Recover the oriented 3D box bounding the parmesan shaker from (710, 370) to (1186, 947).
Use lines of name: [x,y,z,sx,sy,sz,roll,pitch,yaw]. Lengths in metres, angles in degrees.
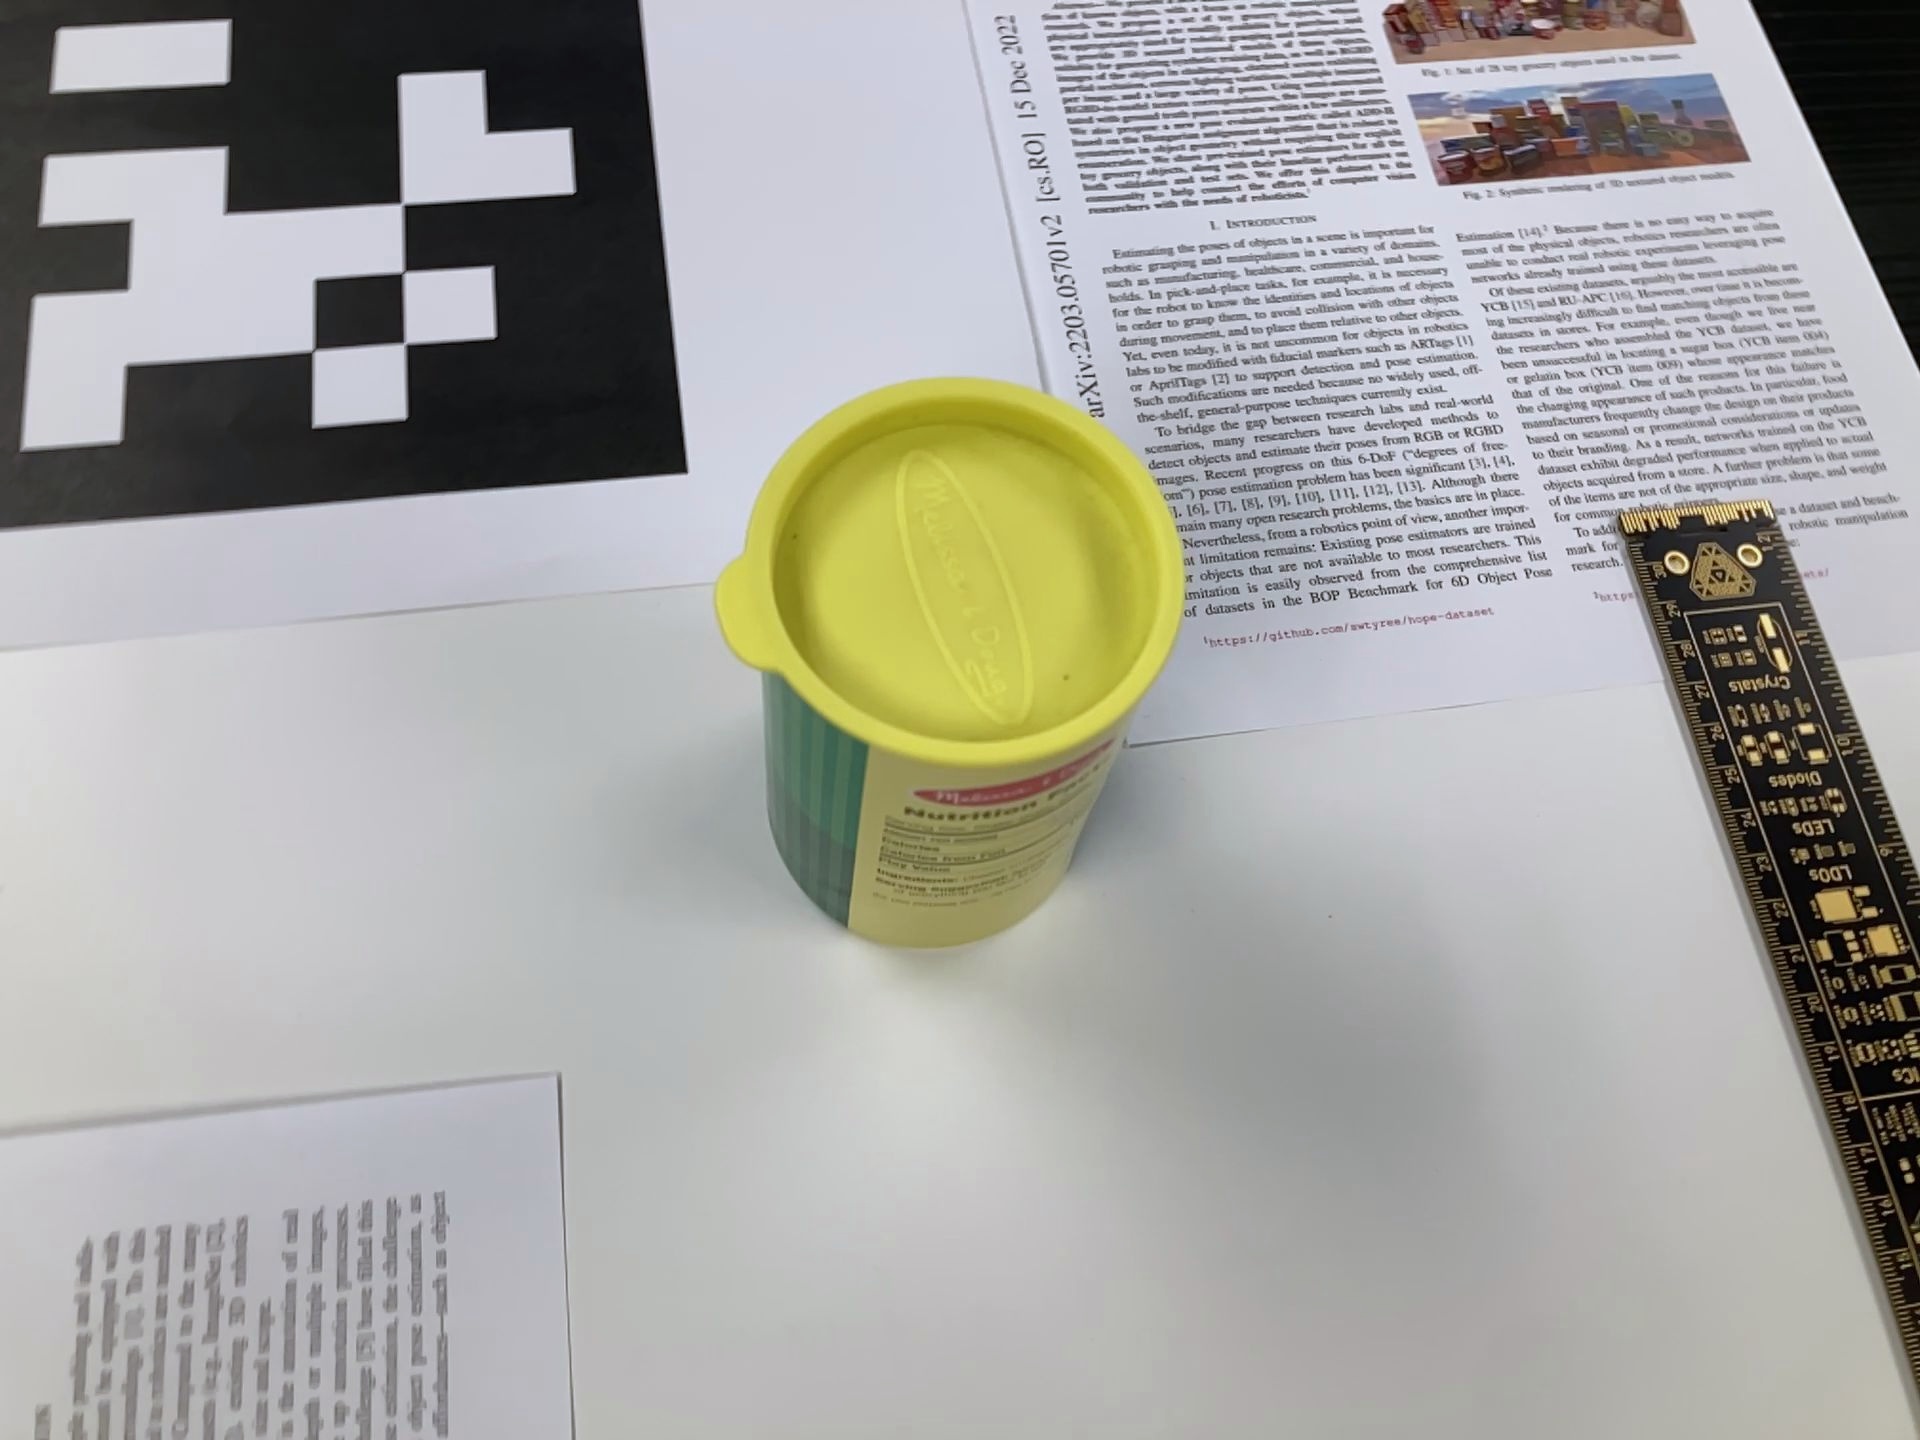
parmesan shaker: [-0.006,-0.004,0.282,0.071,0.103,0.071,2,66,-5]
